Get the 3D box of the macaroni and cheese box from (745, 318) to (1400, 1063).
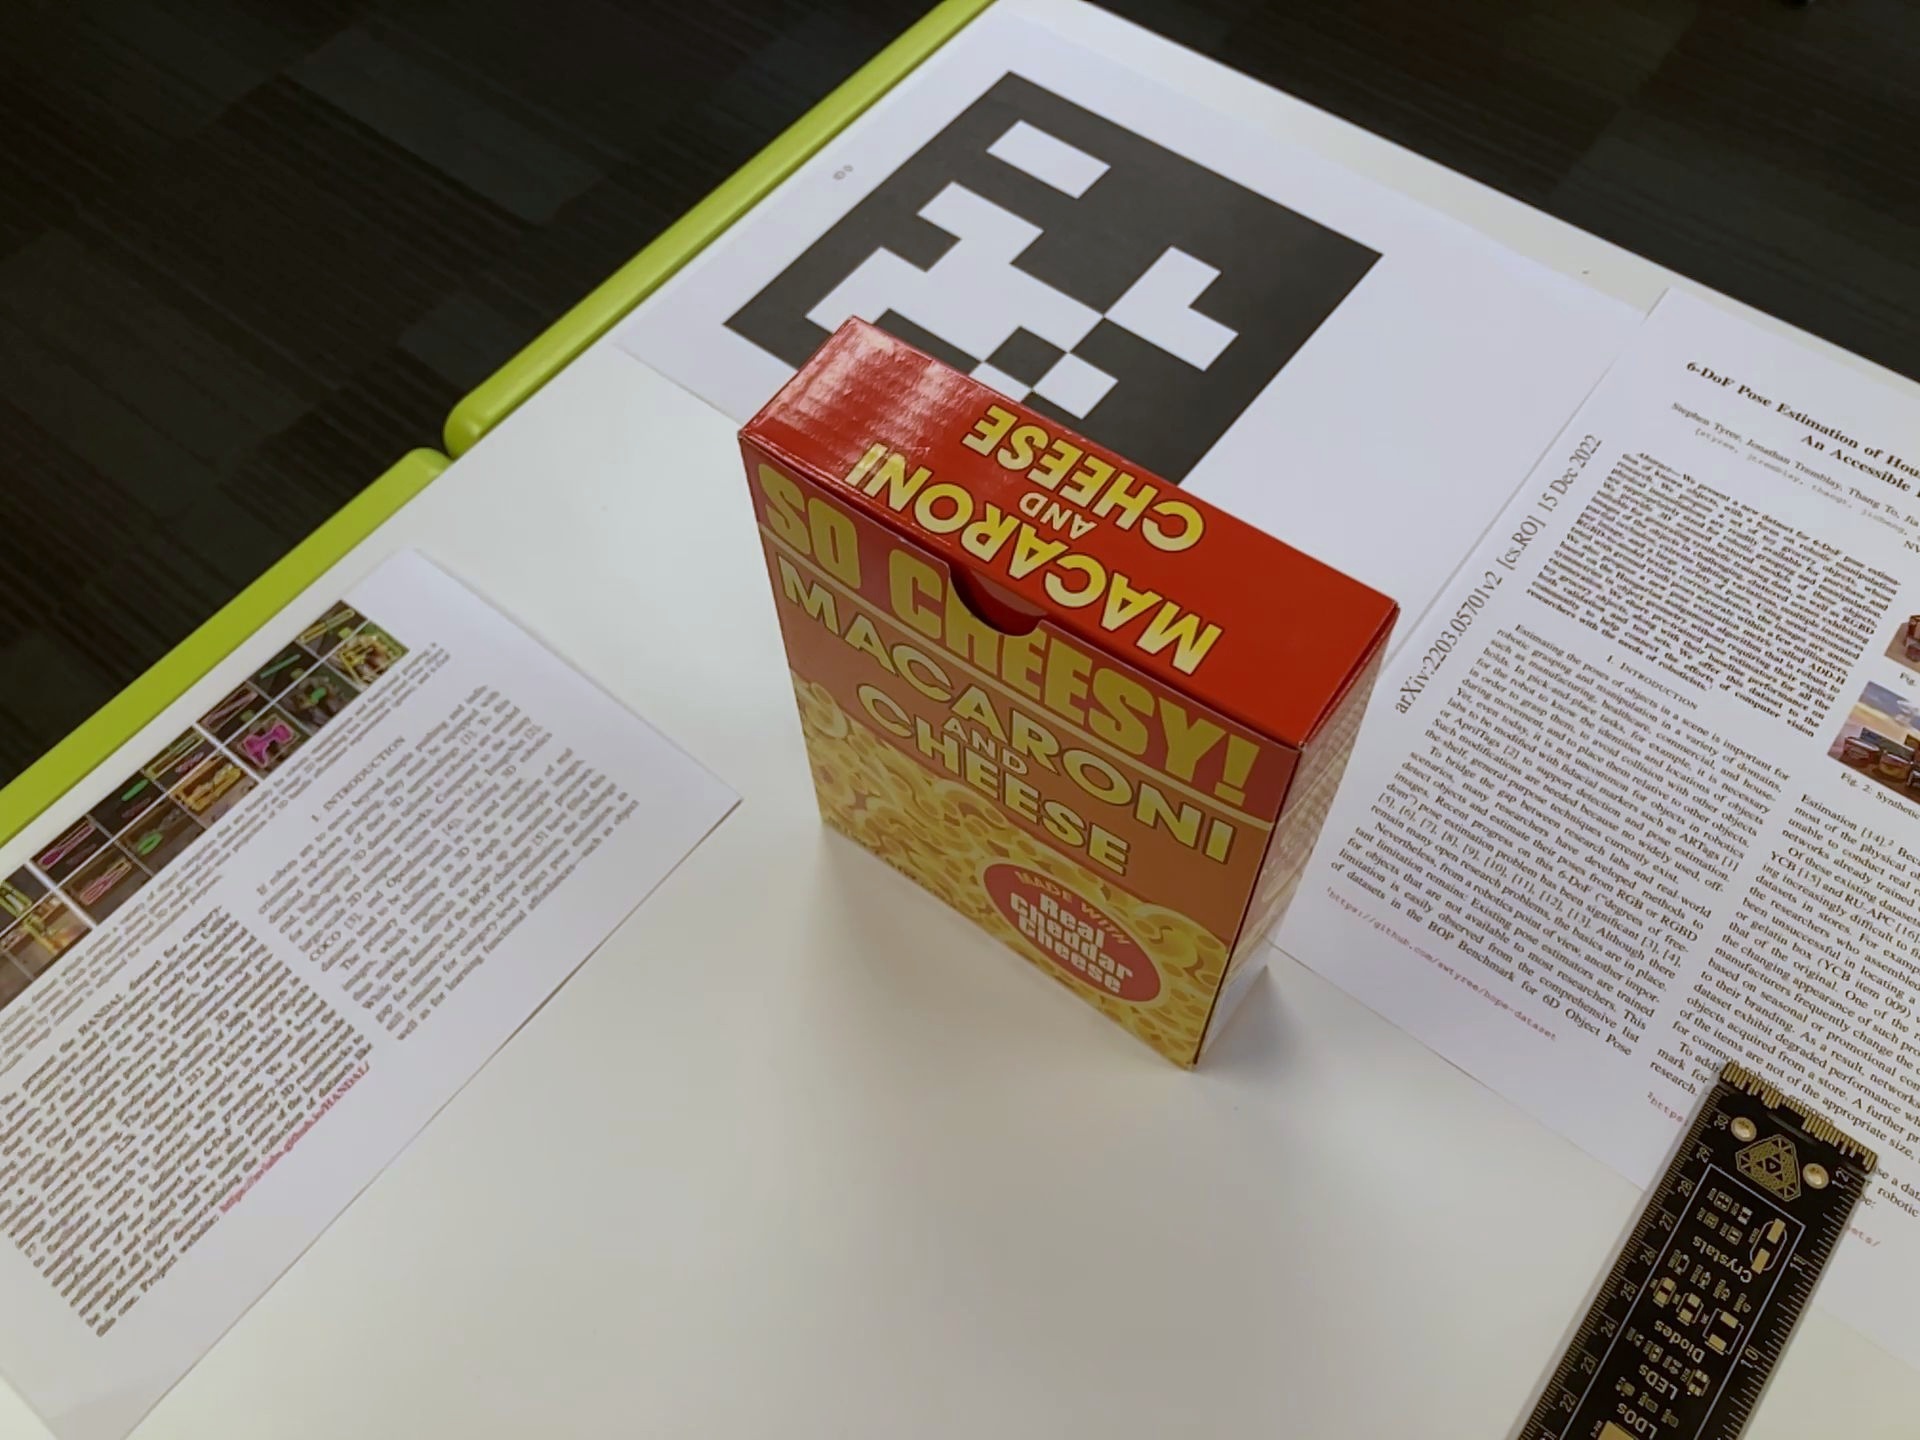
[{"bbox_3d":[0.020,0.004,0.360,0.124,0.166,0.040,31,65,18],"label":"macaroni and cheese box"}]
